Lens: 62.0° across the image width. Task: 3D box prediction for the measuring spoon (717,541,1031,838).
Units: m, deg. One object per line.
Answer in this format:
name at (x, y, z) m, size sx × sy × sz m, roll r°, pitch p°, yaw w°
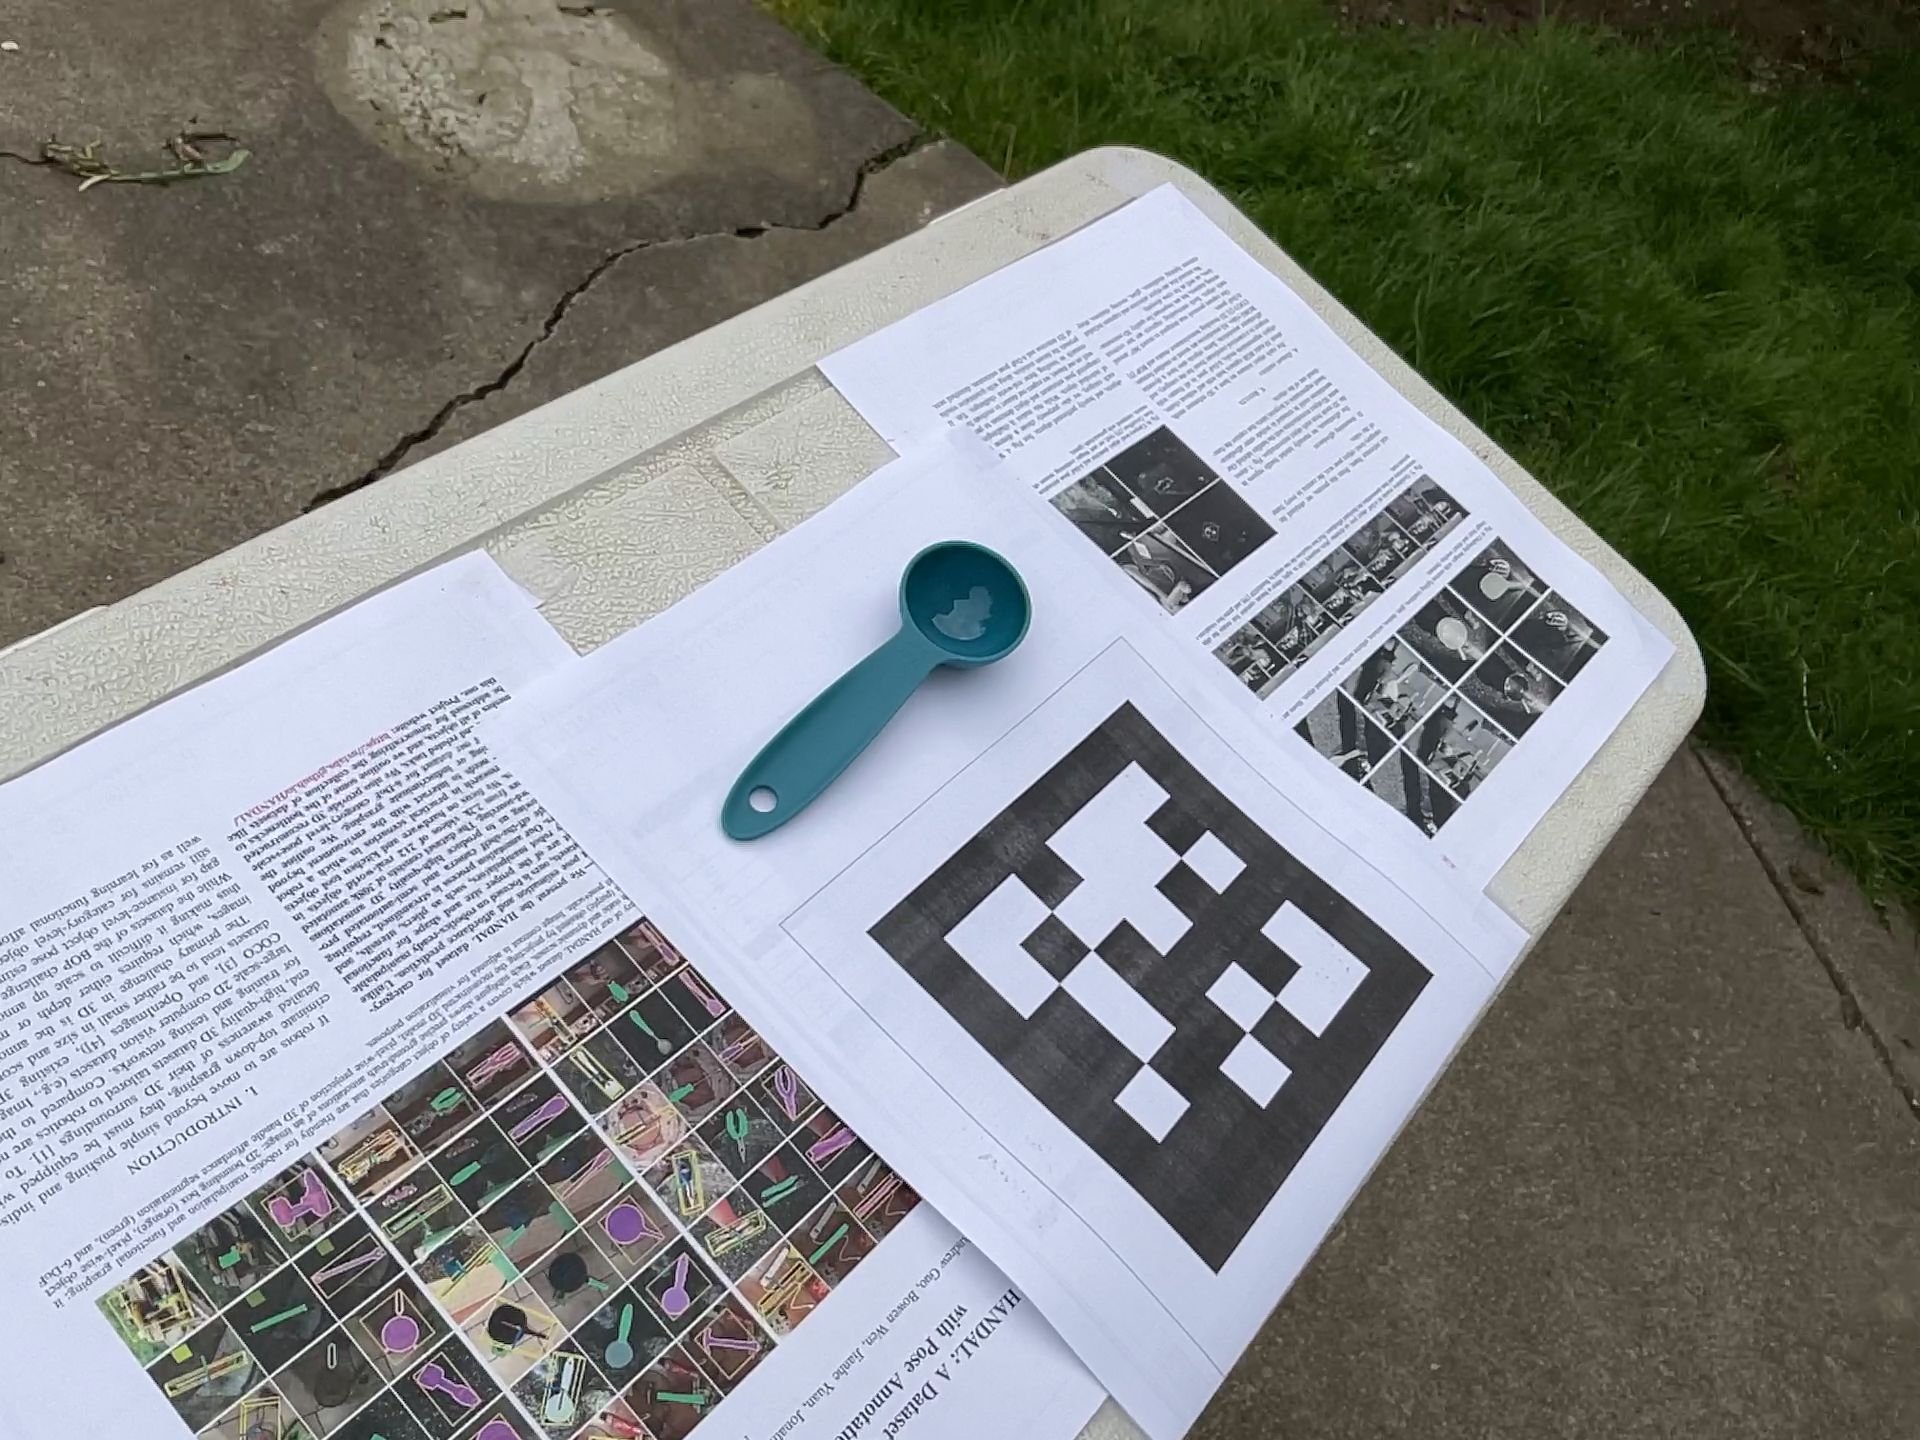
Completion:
measuring spoon at (-0.028, -0.006, 0.477) m, size 0.042 × 0.021 × 0.129 m, roll 42°, pitch 61°, yaw 6°
